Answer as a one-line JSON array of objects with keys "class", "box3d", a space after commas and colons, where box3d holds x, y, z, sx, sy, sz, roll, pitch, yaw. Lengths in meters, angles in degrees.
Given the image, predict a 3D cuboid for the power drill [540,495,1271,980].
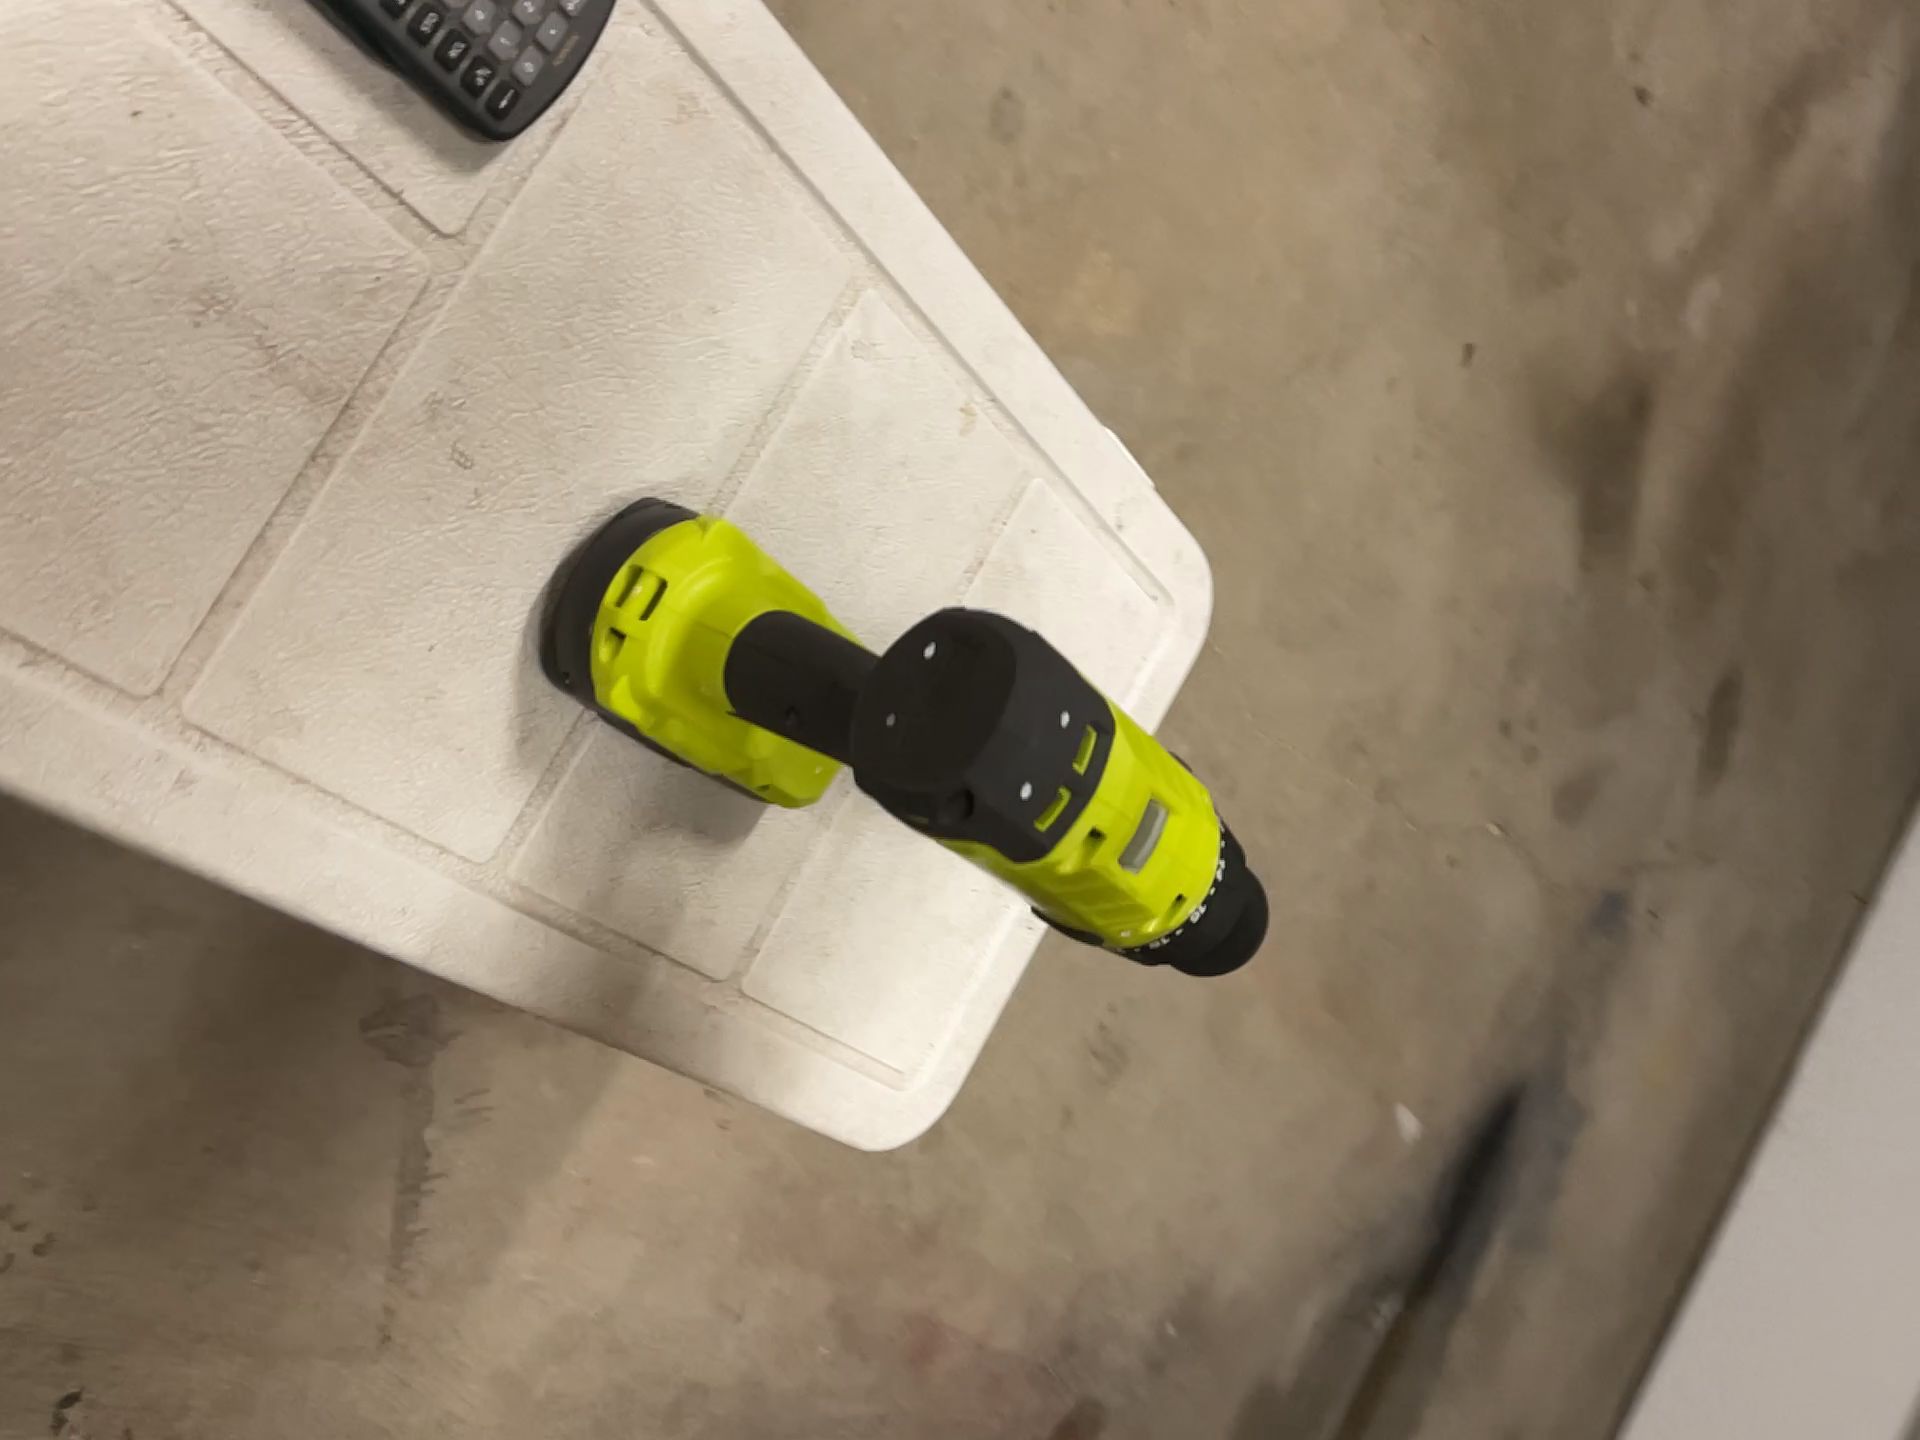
[{"class": "power drill", "box3d": [-0.014, 0.011, 0.525, 0.190, 0.228, 0.080, 39, 77, -49]}]
